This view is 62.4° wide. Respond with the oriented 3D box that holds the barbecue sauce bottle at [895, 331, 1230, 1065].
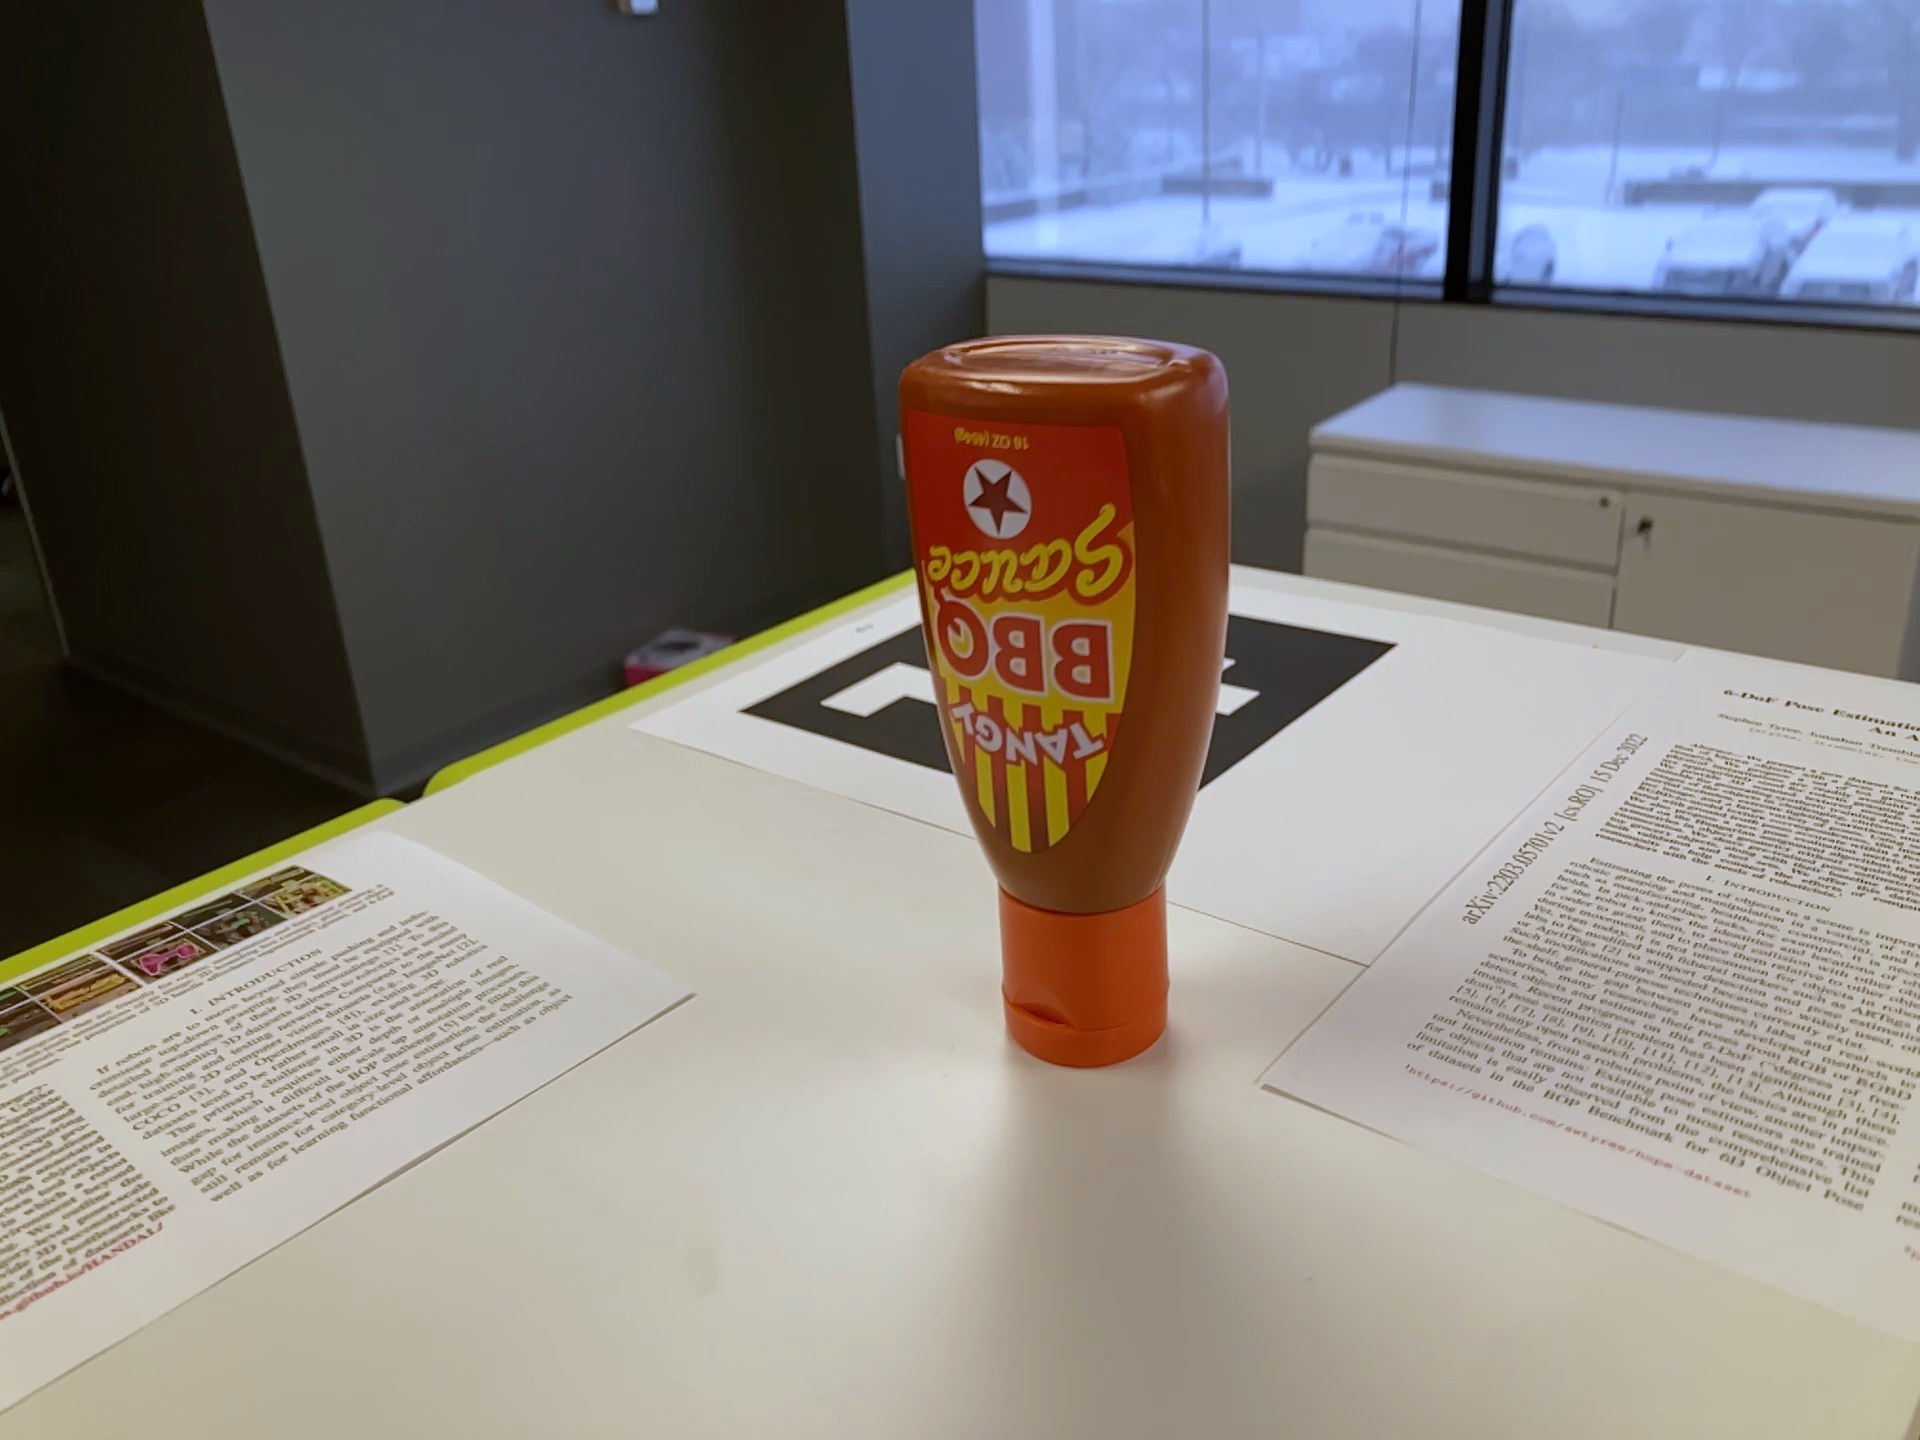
[{"bbox_3d":[0.023,-0.001,0.324,0.065,0.148,0.043,13,29,36],"label":"barbecue sauce bottle"}]
